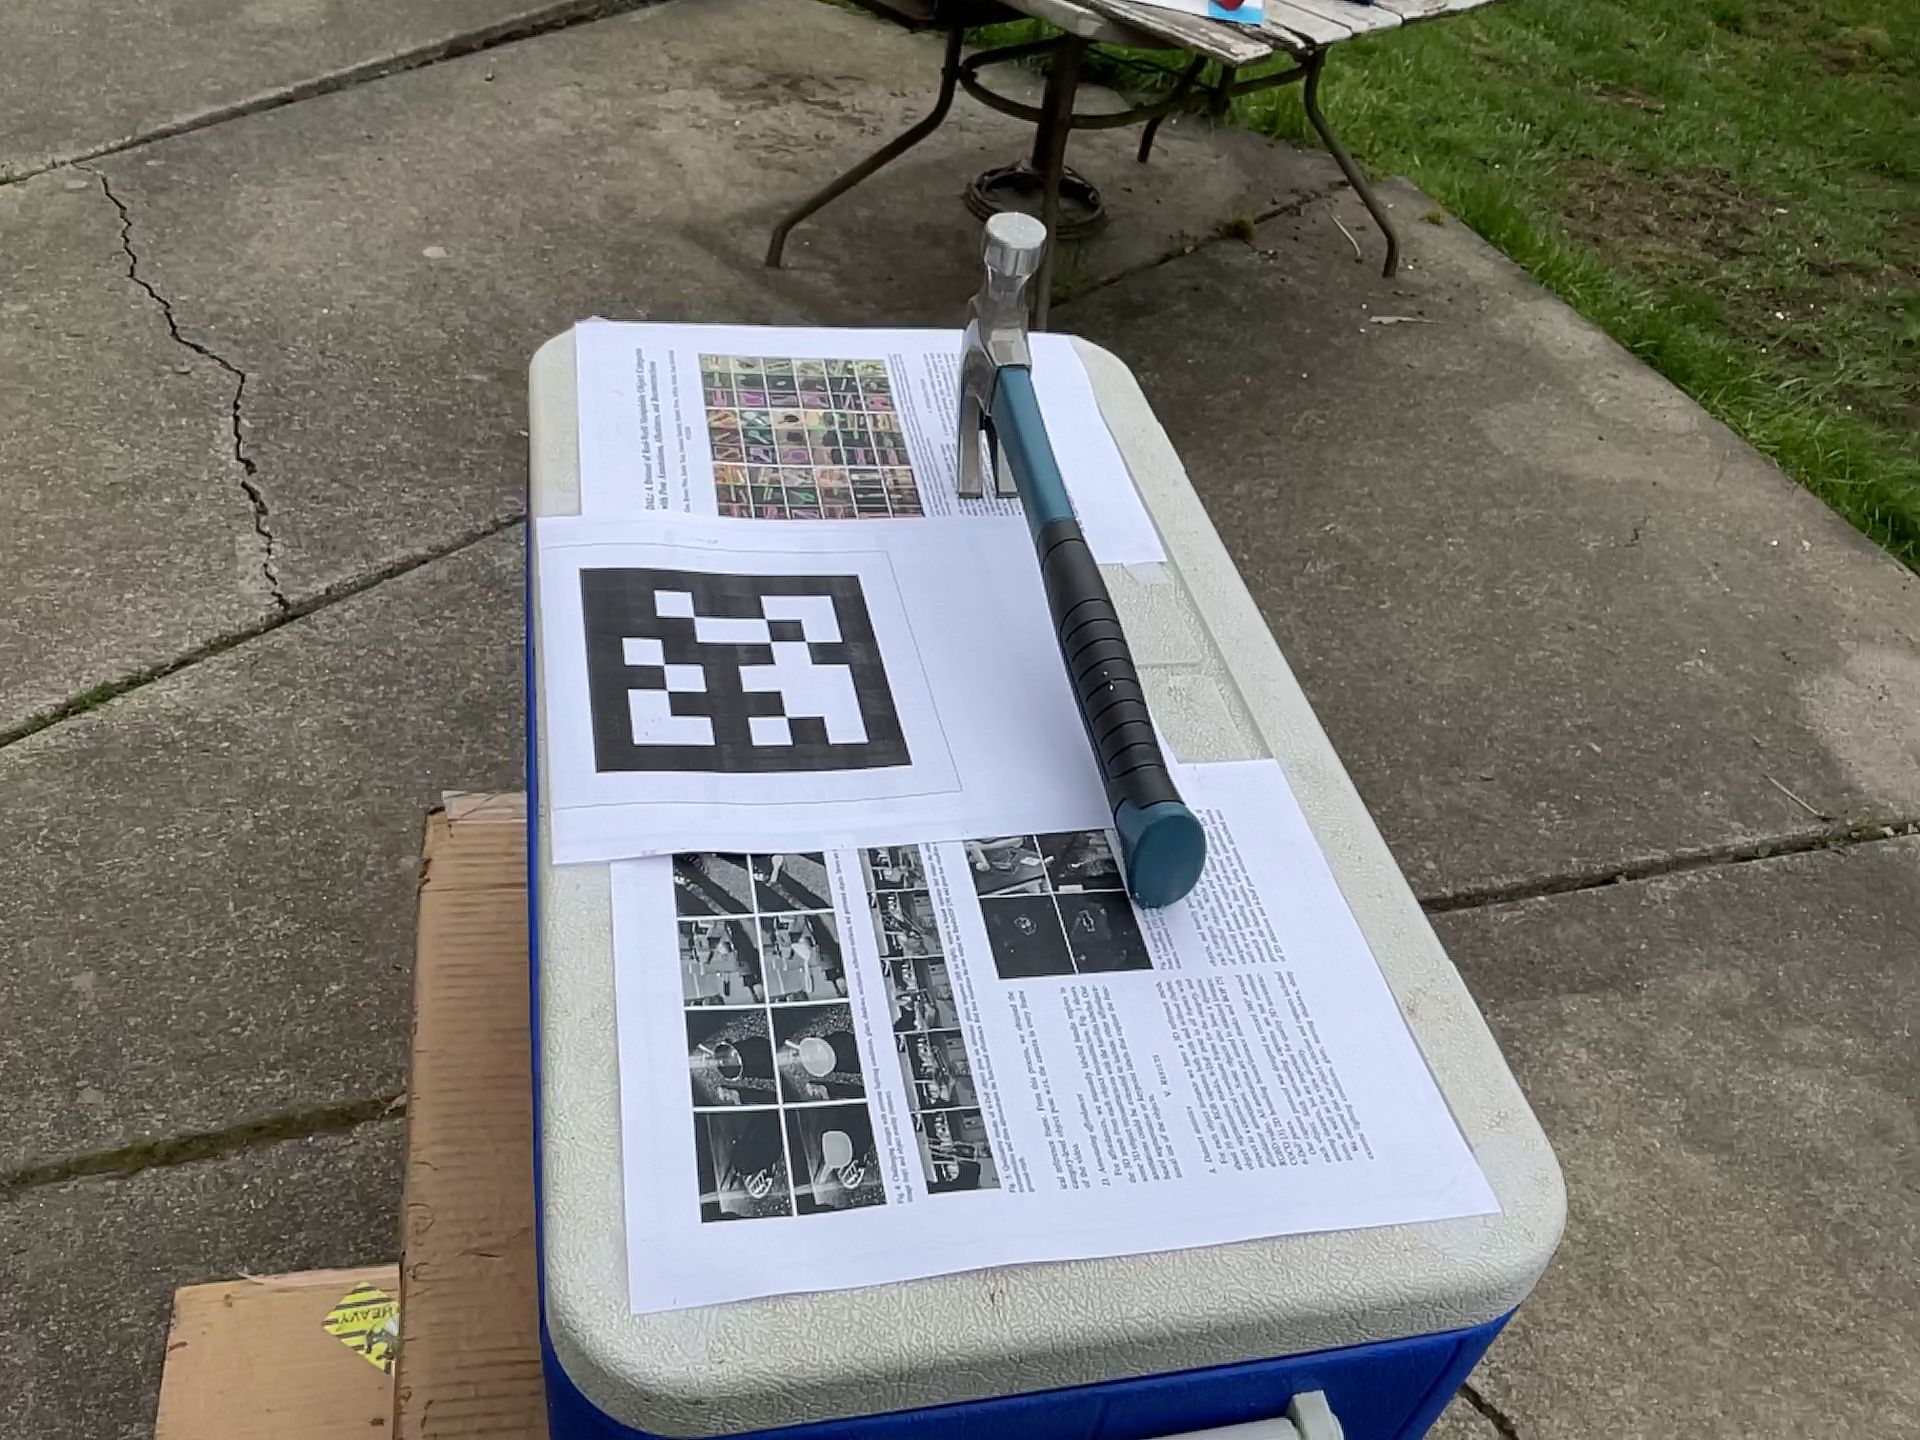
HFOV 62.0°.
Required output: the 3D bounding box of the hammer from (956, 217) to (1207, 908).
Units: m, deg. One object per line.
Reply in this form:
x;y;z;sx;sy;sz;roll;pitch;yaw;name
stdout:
0.046;-0.069;0.698;0.033;0.128;0.331;-4;52;-14;hammer
